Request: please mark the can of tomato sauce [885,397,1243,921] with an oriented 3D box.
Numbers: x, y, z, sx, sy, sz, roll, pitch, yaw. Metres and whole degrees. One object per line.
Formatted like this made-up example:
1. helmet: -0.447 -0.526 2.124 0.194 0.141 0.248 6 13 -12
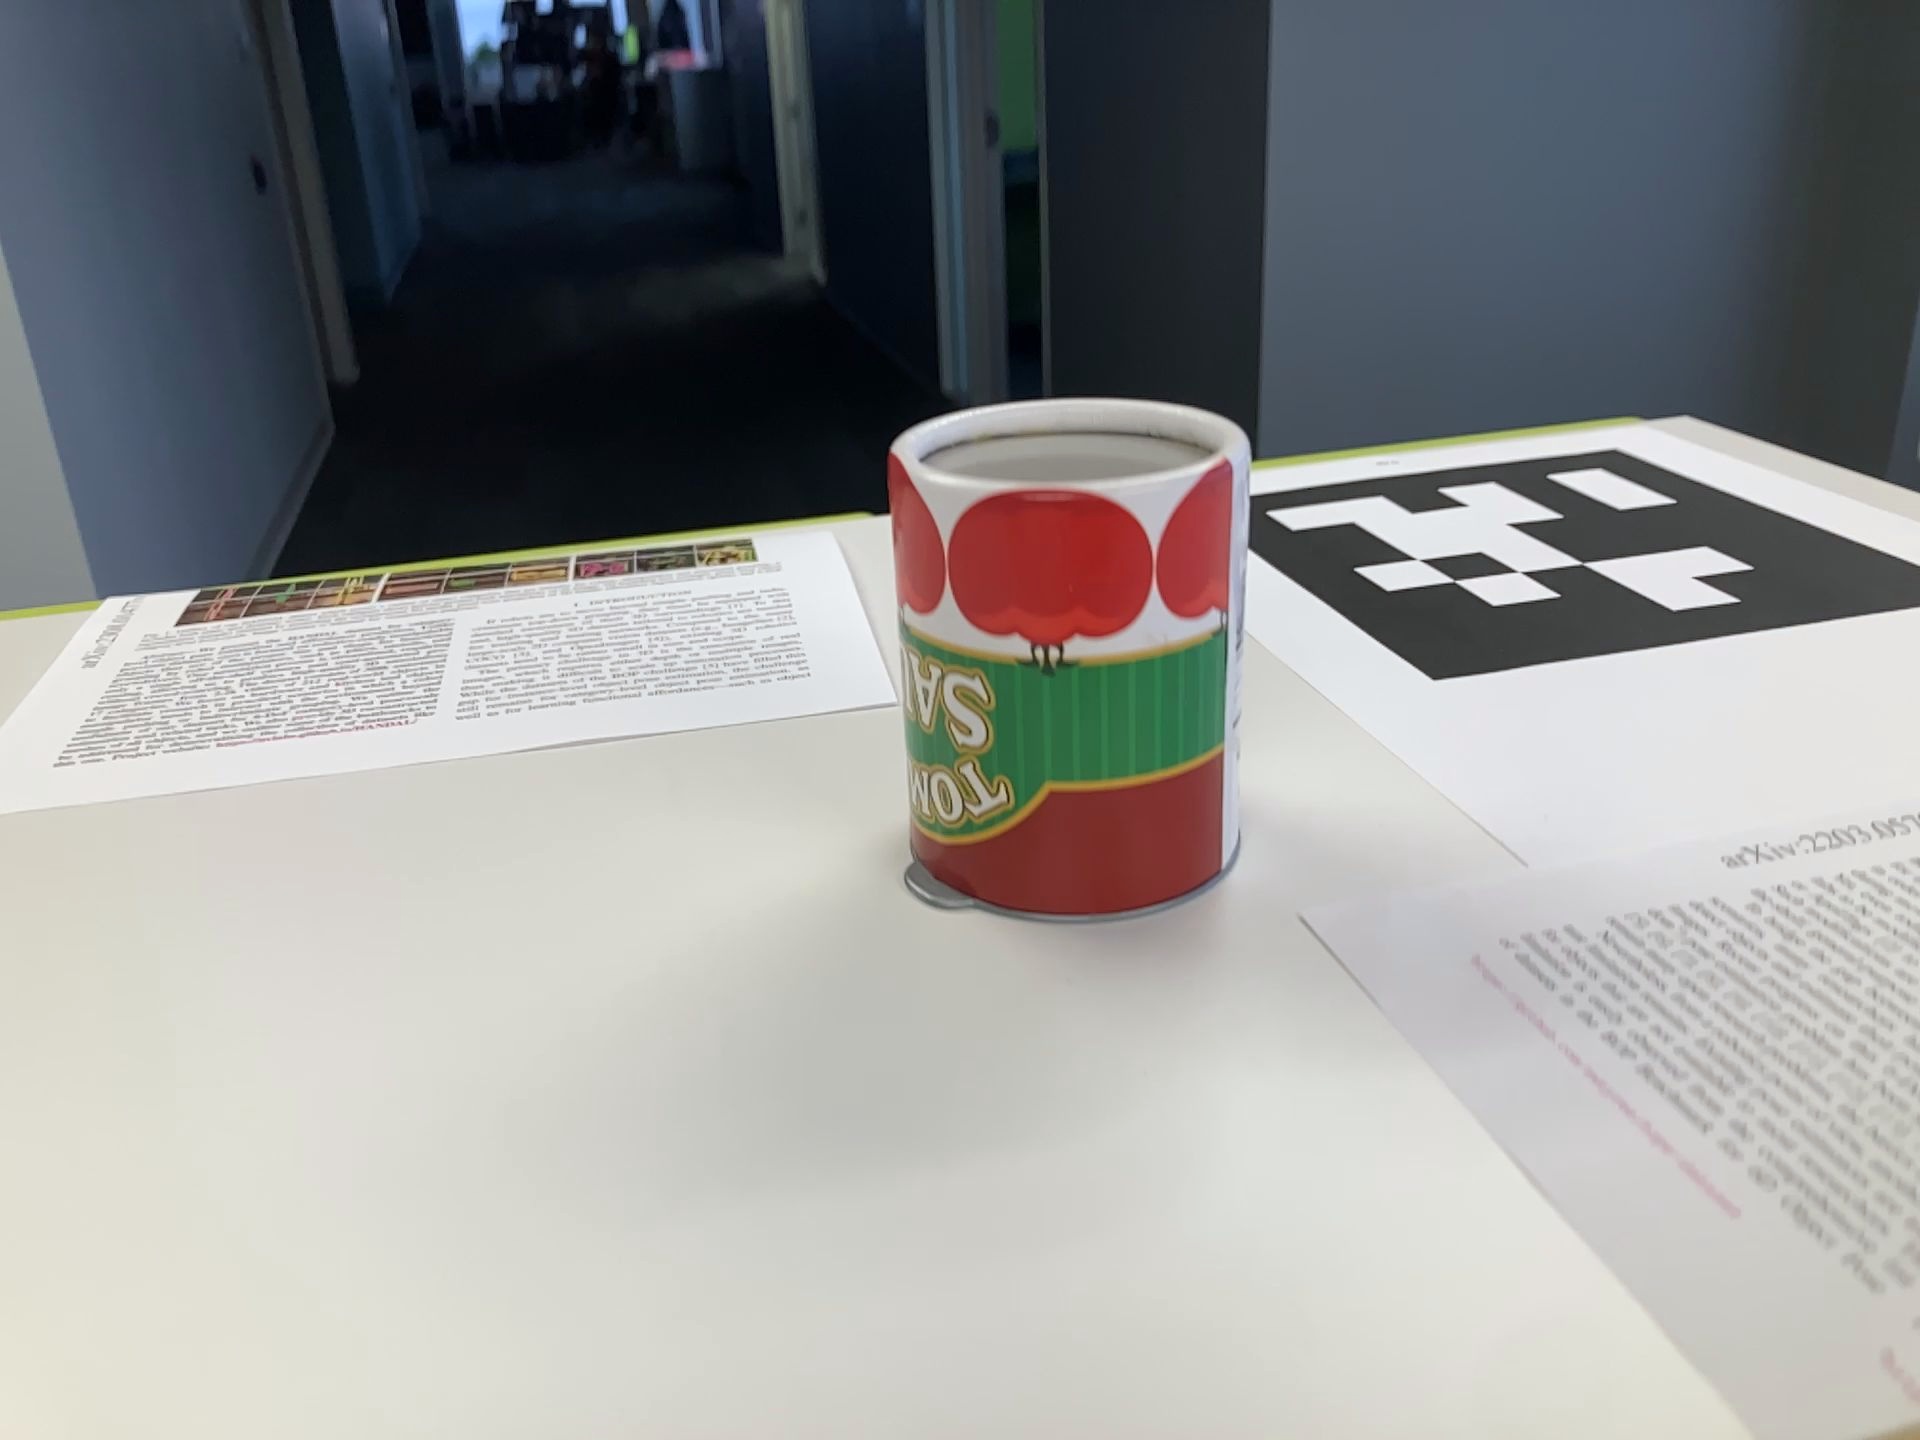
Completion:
1. can of tomato sauce: 0.019 -0.014 0.308 0.071 0.083 0.071 -3 26 1
